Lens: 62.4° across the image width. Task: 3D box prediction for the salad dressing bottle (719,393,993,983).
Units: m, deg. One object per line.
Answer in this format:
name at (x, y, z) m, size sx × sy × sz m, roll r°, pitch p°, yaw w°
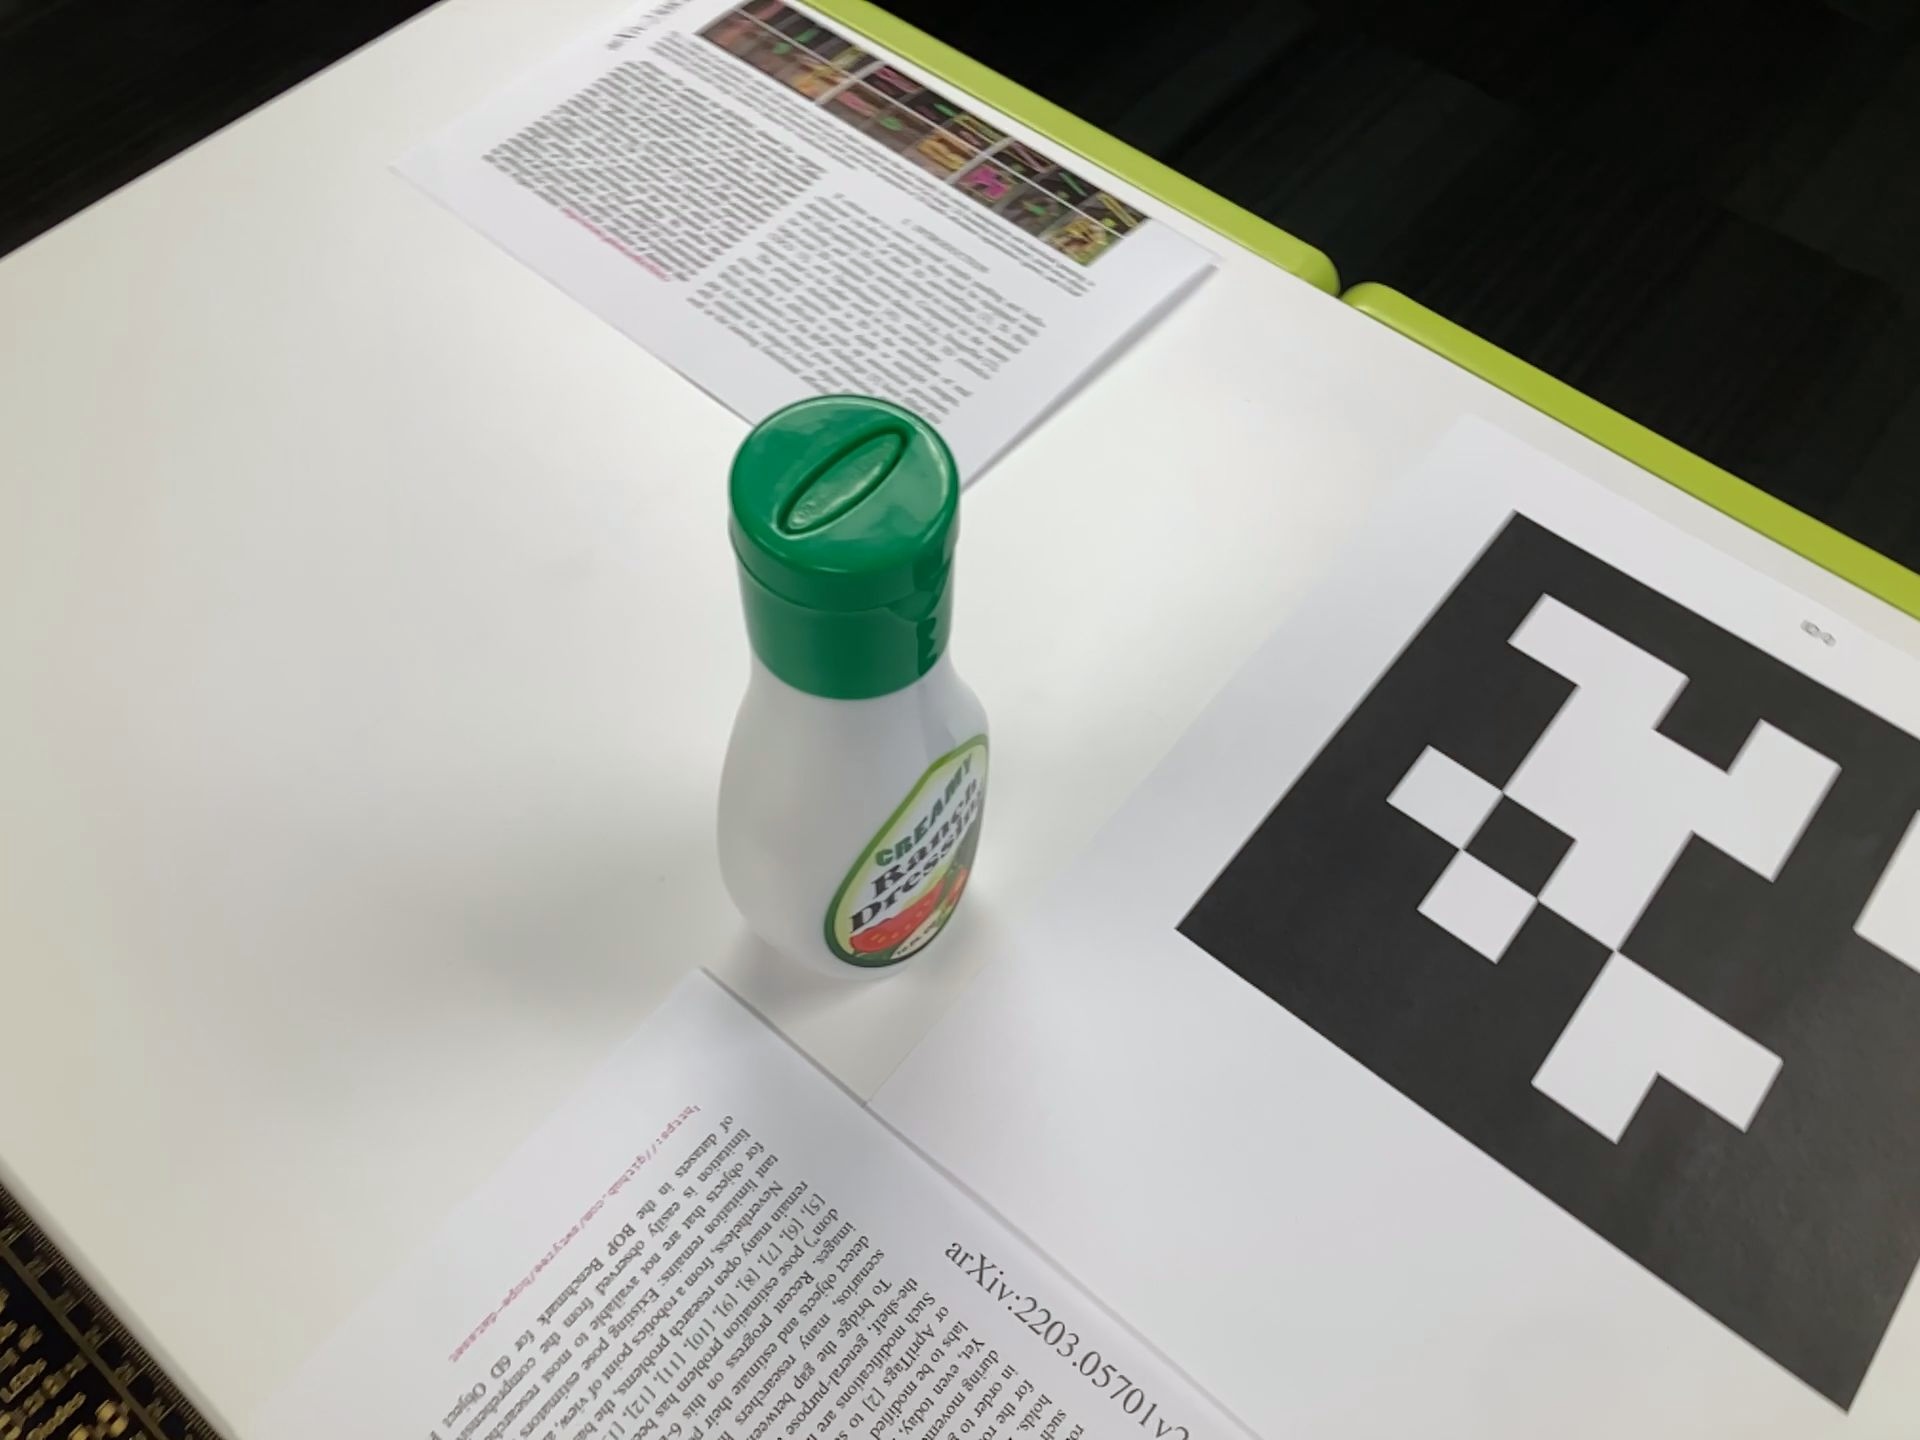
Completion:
salad dressing bottle at (-0.020, 0.001, 0.305) m, size 0.044 × 0.147 × 0.064 m, roll 36°, pitch 64°, yaw 19°
